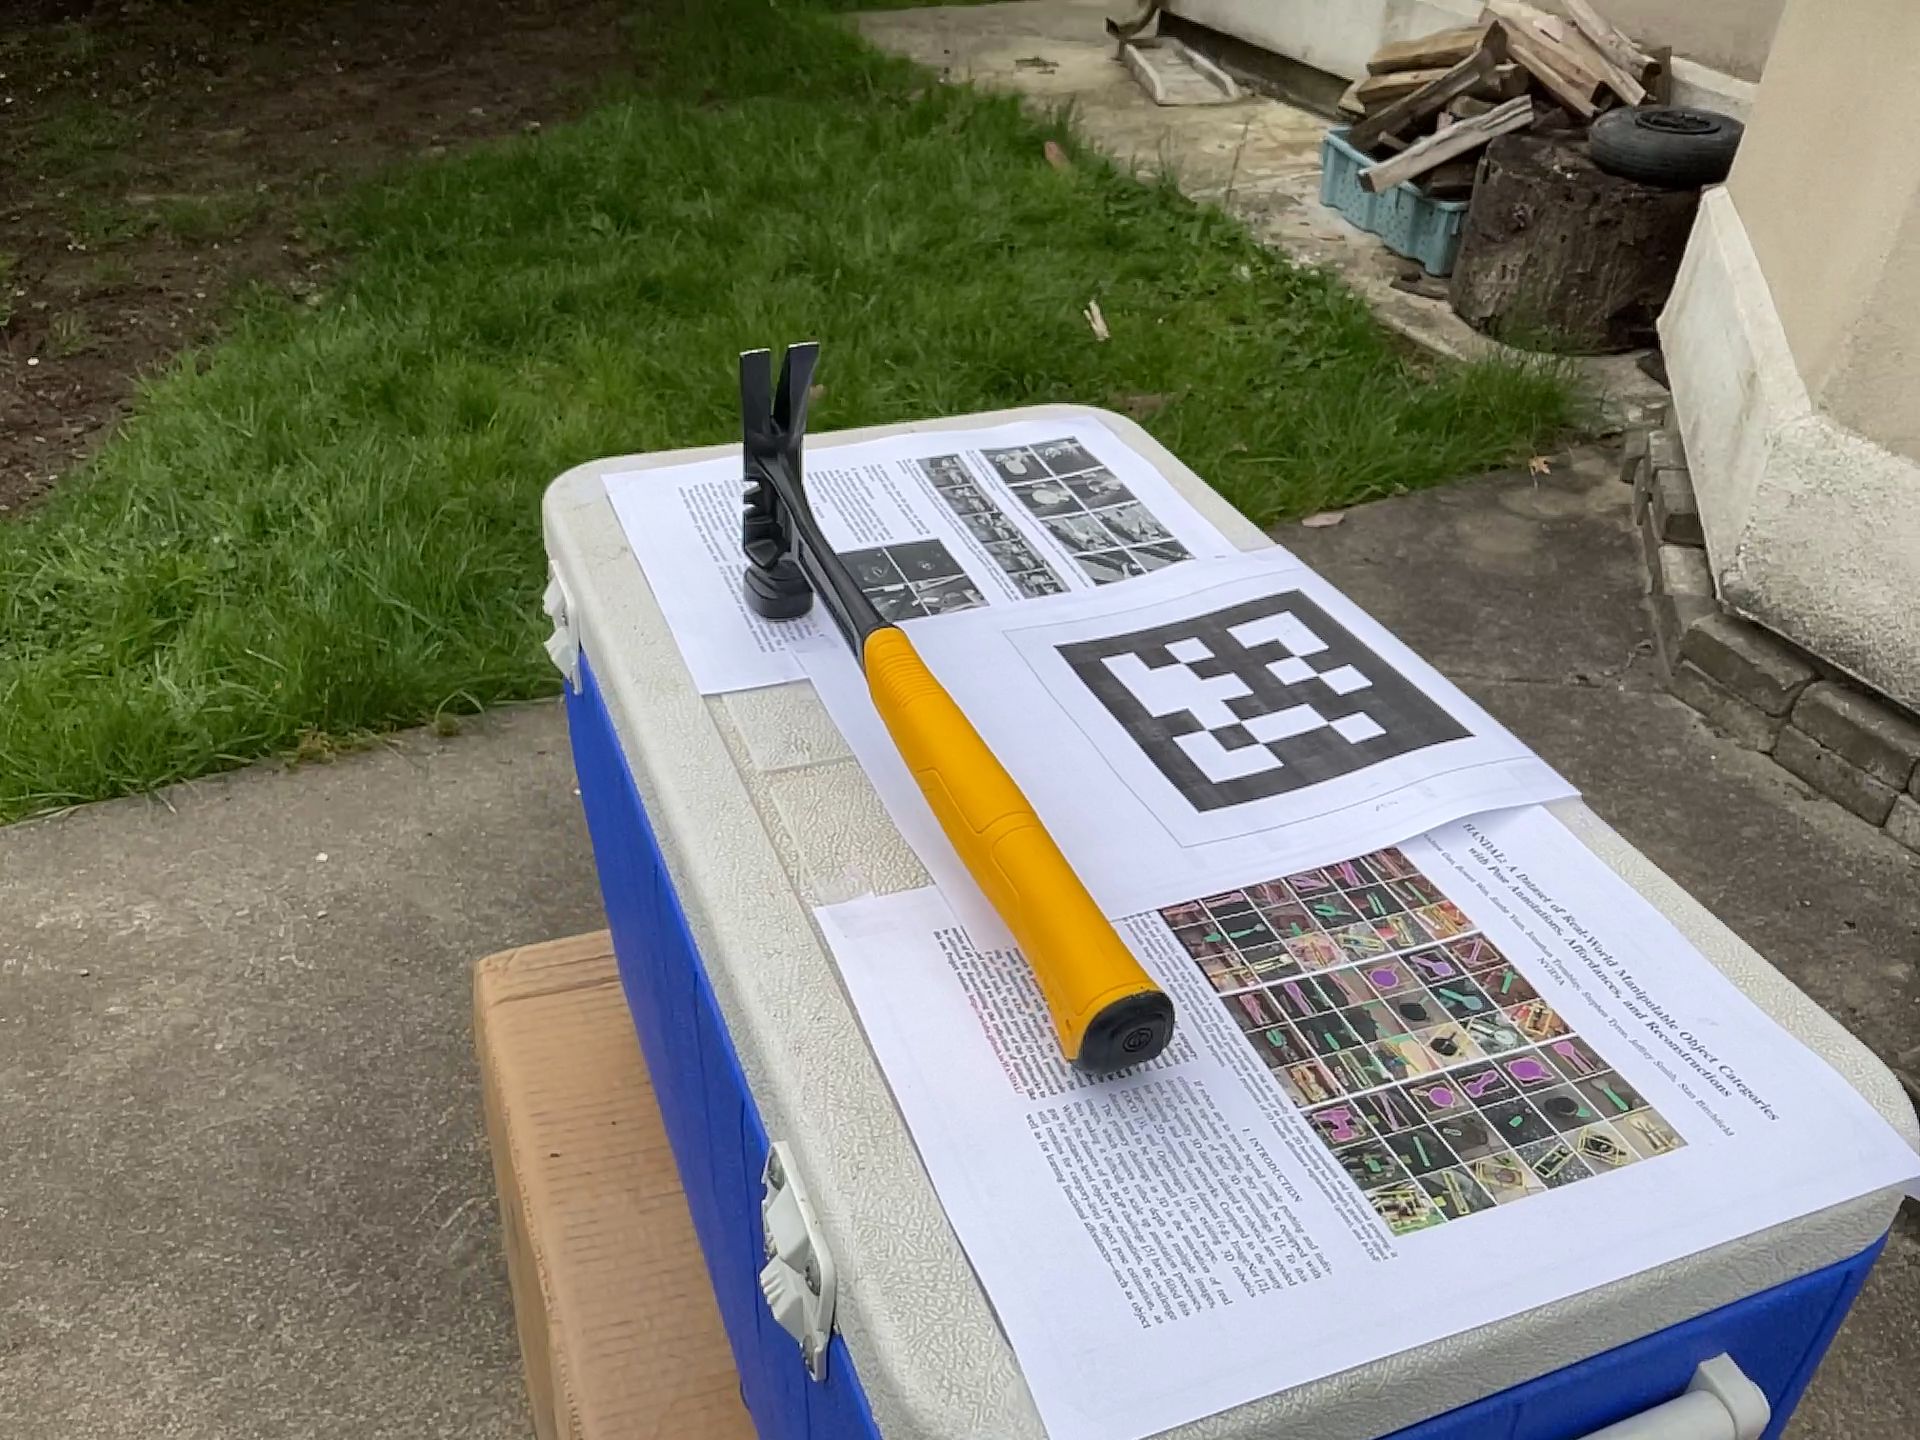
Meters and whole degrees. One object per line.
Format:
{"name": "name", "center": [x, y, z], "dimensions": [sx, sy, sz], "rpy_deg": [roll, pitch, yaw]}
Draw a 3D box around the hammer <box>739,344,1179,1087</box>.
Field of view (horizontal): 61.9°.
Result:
{"name": "hammer", "center": [-0.015, -0.008, 0.581], "dimensions": [0.034, 0.127, 0.337], "rpy_deg": [-12, 43, -21]}
